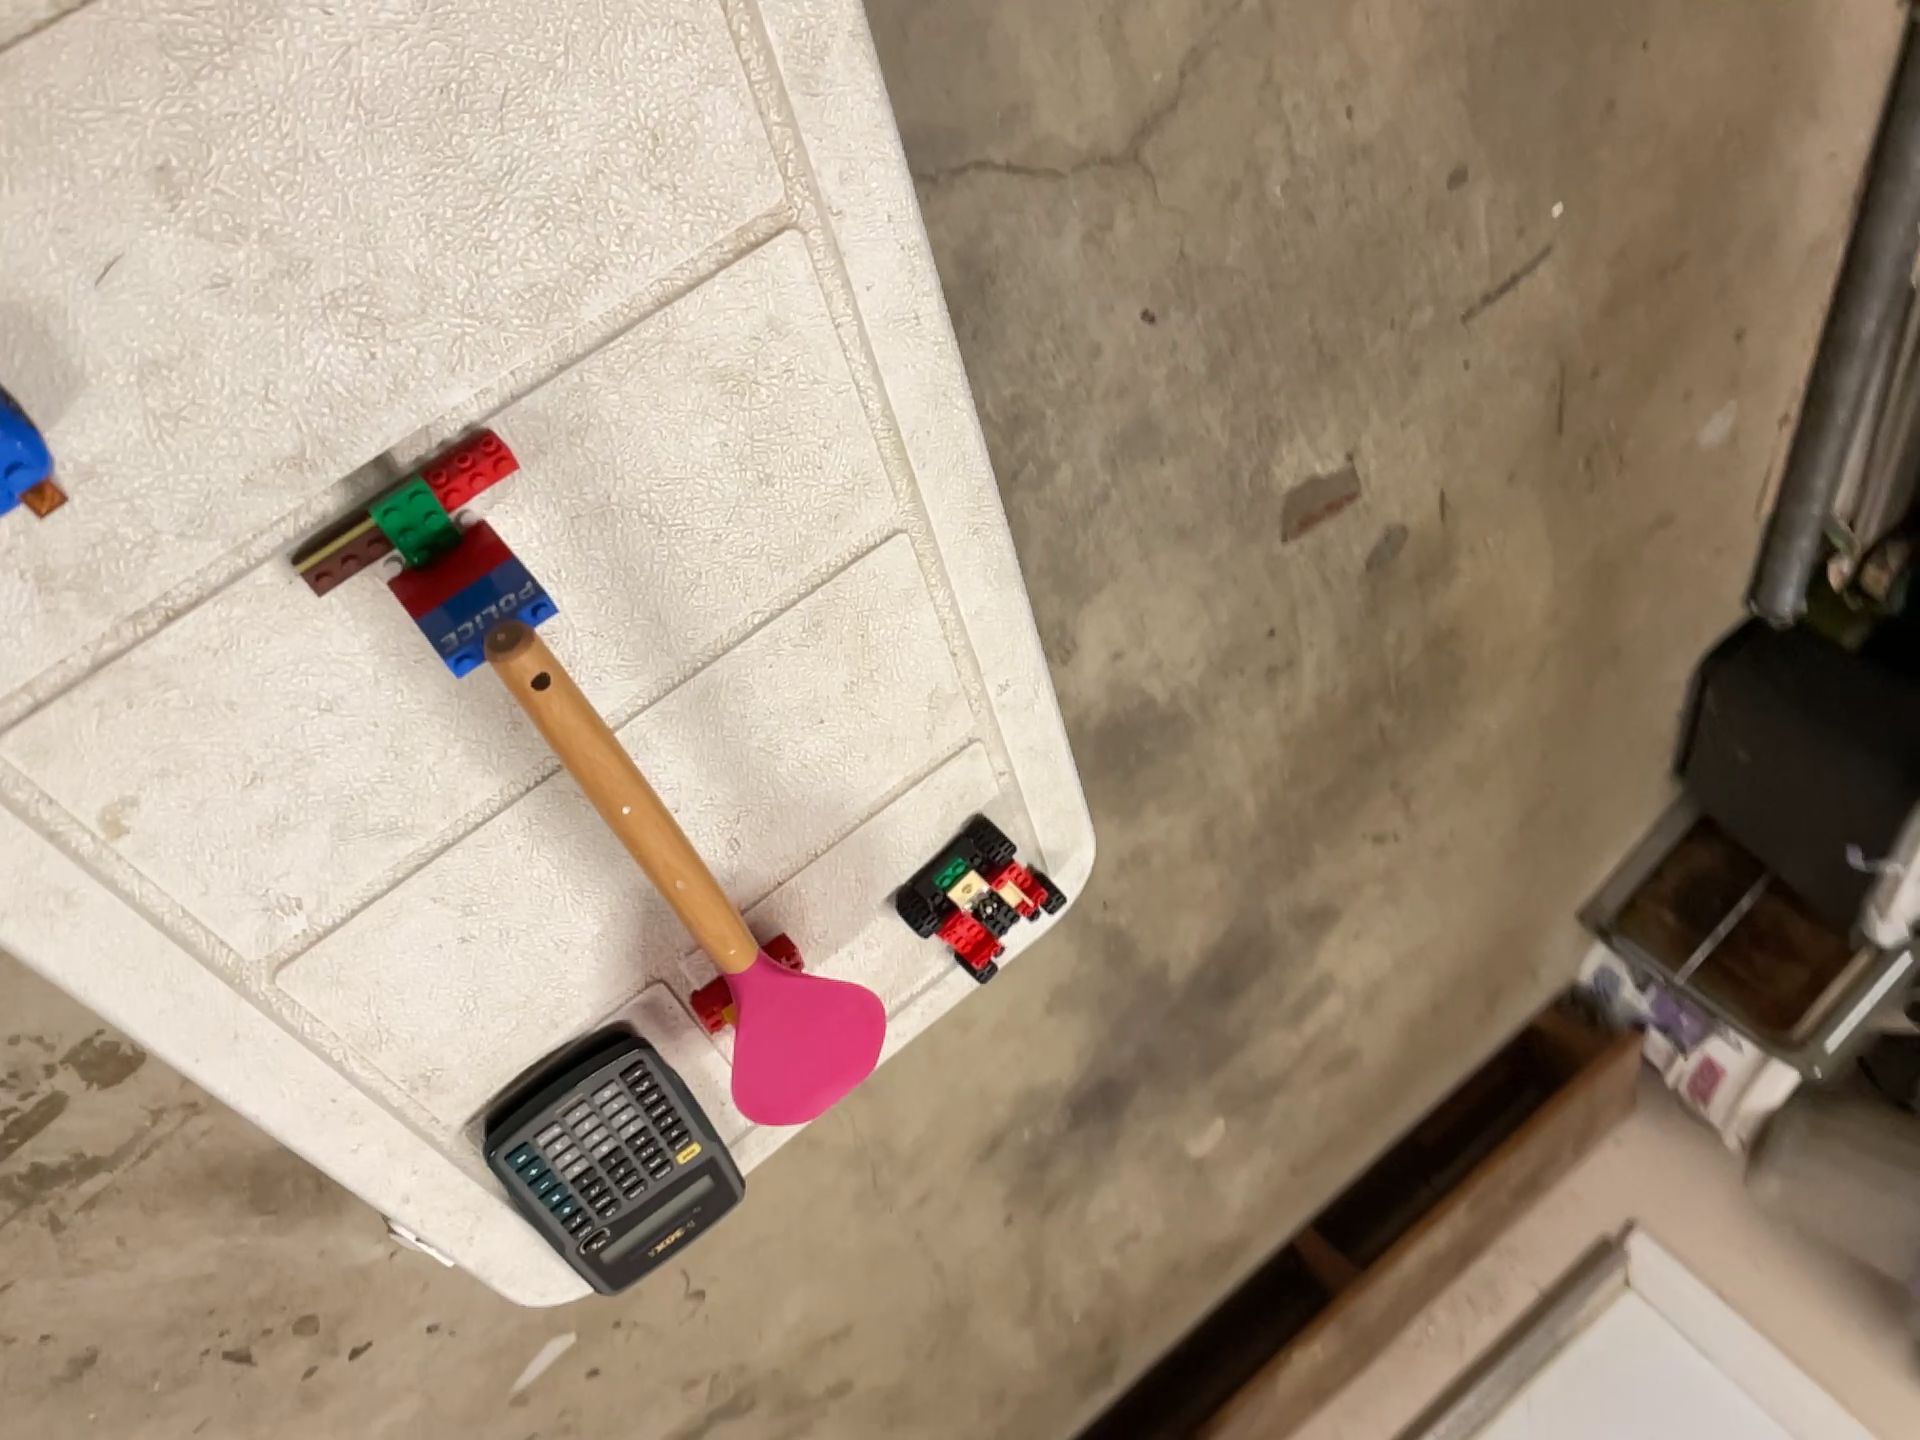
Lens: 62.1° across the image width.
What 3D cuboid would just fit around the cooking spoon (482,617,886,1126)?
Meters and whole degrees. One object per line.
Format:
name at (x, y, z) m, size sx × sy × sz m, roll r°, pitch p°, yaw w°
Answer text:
cooking spoon at (-0.084, 0.066, 0.538) m, size 0.069 × 0.017 × 0.318 m, roll -38°, pitch 145°, yaw -12°
